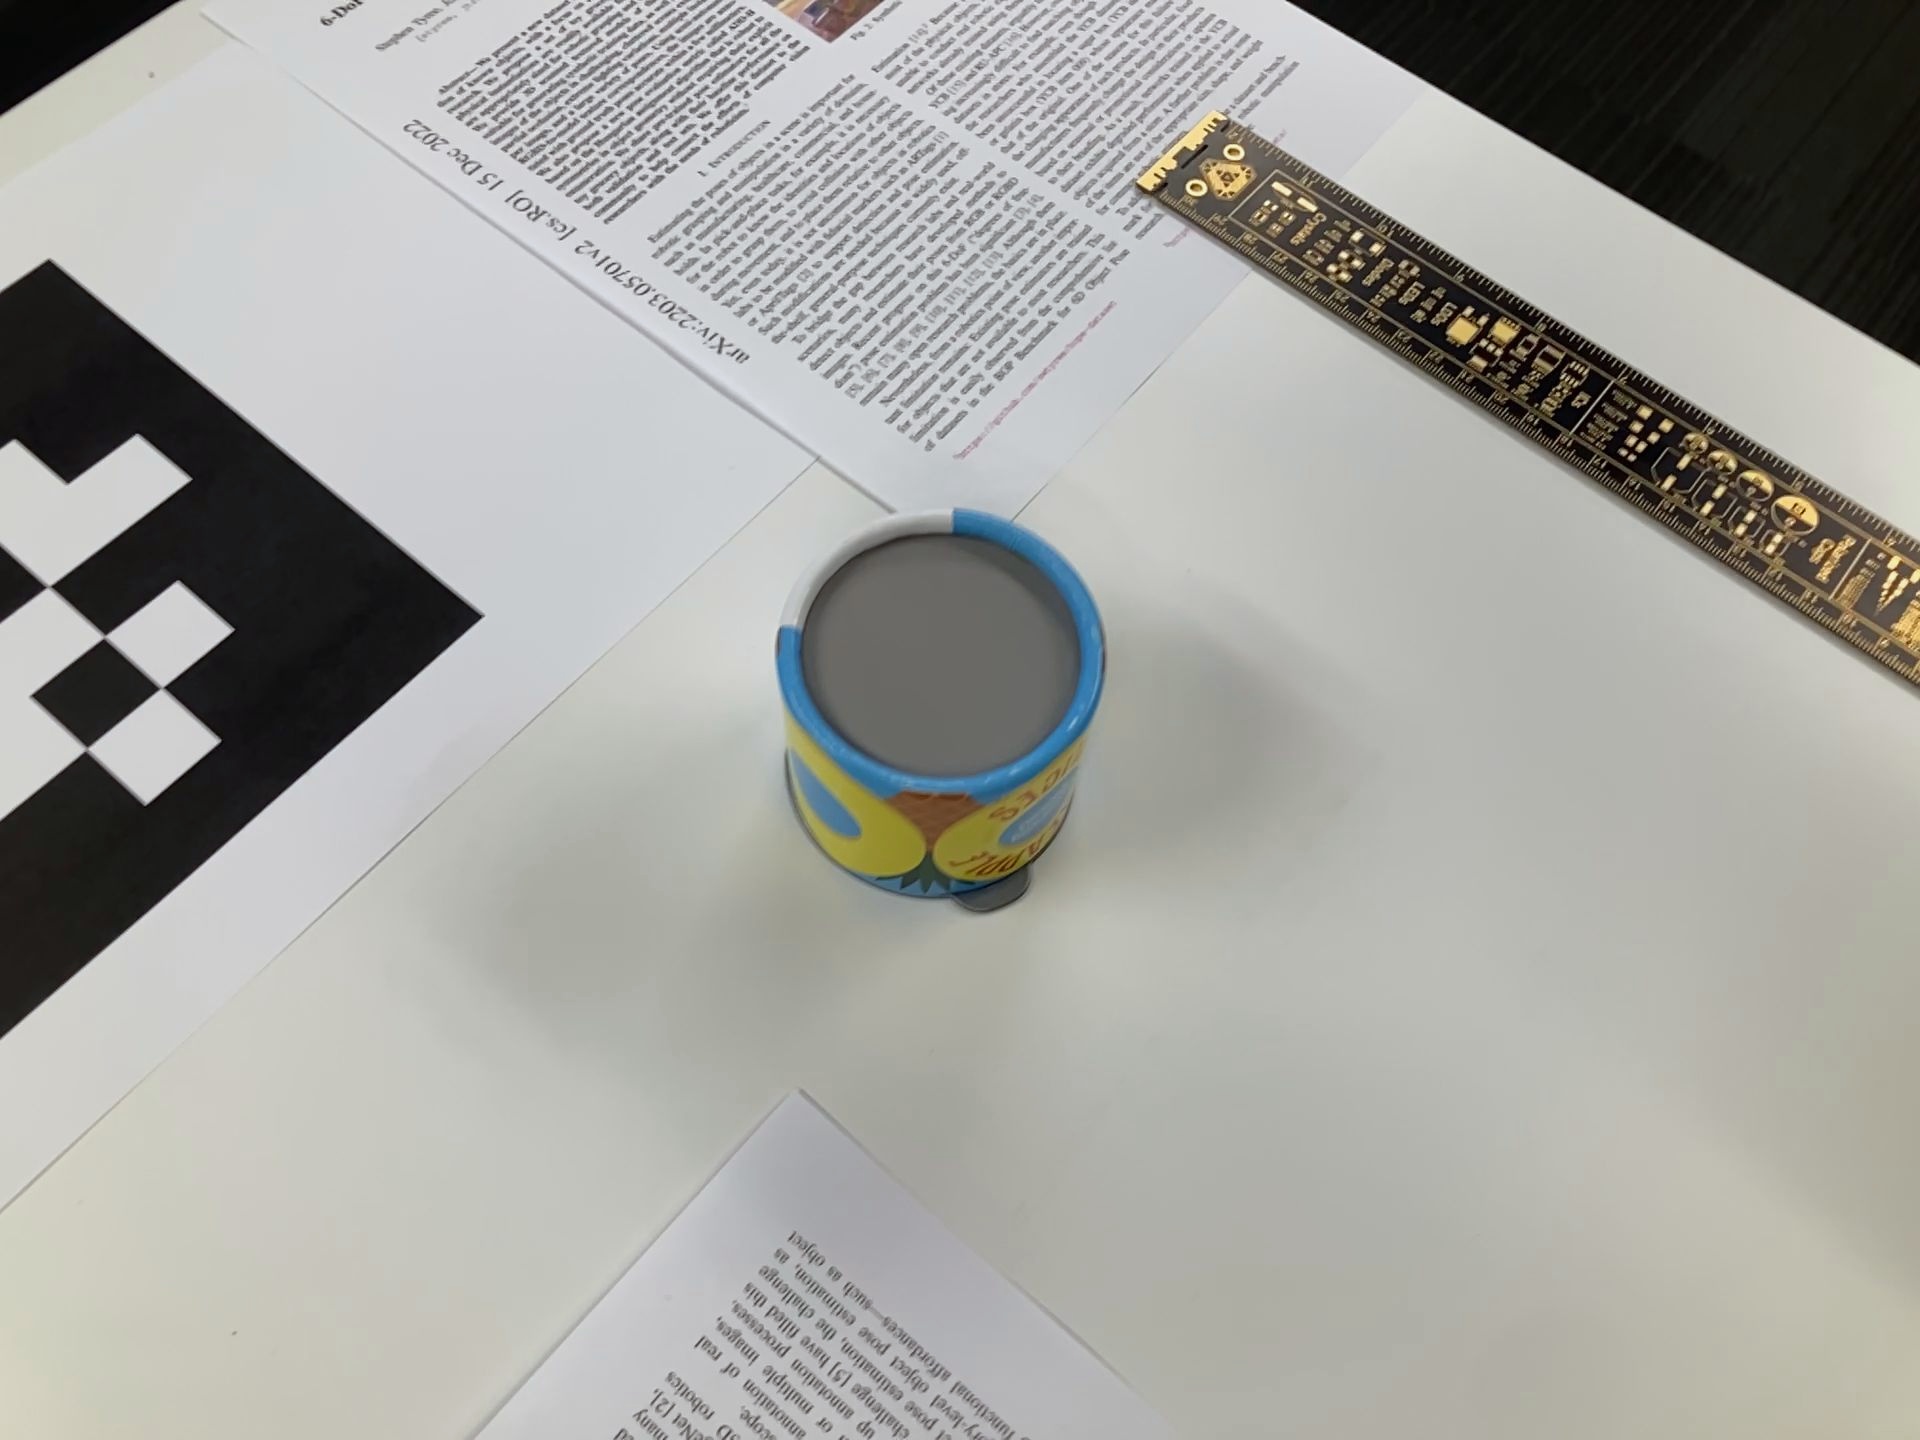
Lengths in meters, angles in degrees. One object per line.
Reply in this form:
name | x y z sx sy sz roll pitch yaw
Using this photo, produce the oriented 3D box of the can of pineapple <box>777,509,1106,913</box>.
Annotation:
can of pineapple | -0.004 -0.001 0.337 0.071 0.058 0.071 1 64 -3
